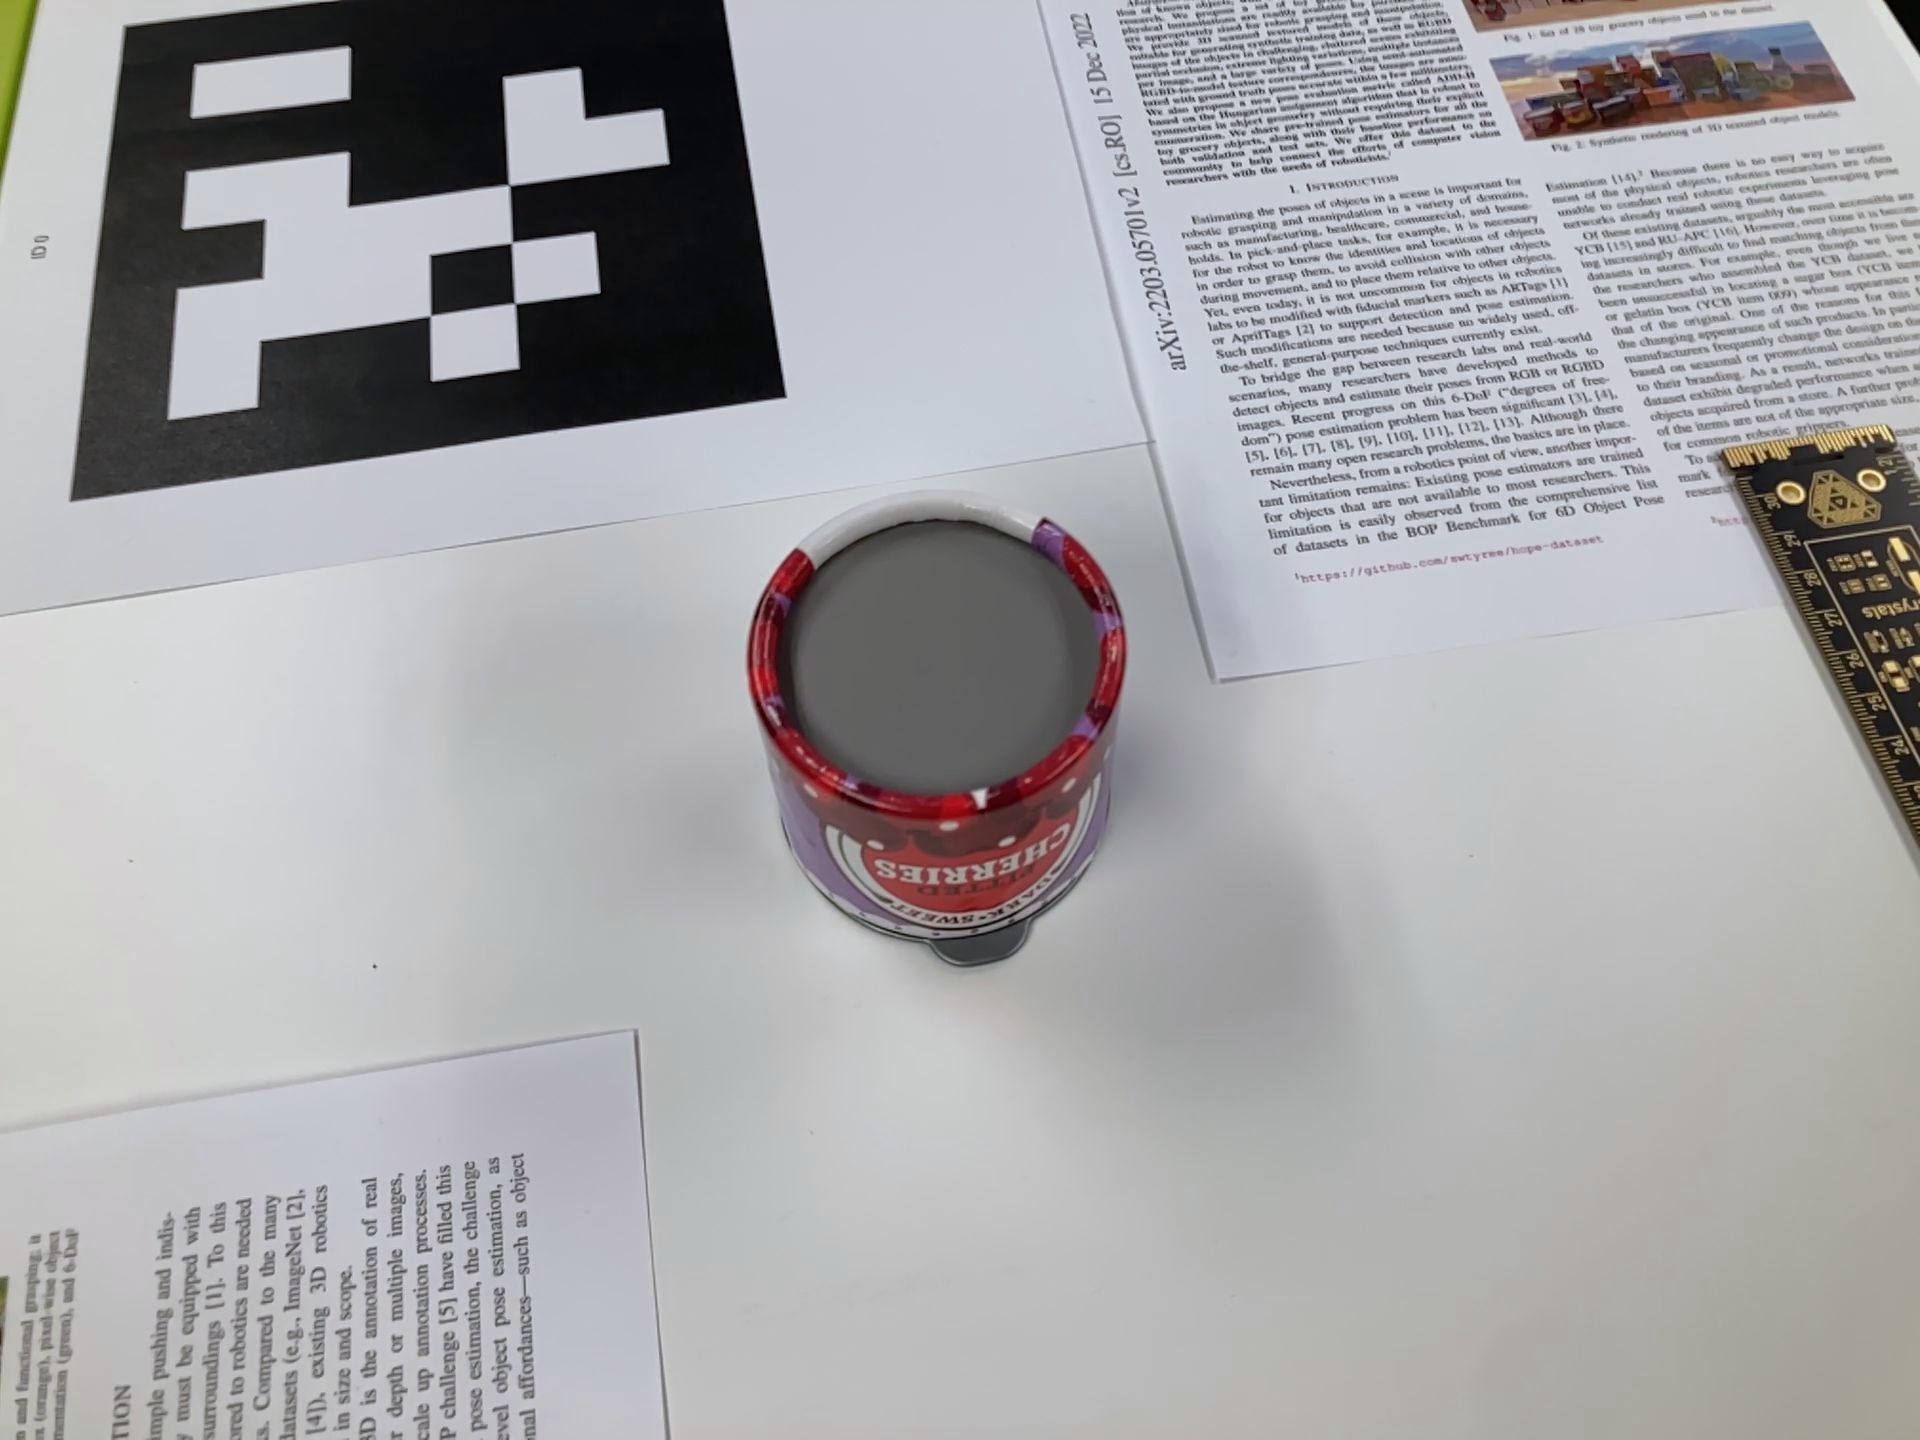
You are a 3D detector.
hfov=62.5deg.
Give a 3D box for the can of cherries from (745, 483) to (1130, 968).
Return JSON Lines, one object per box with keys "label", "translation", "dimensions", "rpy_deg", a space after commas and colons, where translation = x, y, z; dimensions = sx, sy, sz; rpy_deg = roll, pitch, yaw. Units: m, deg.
{"label": "can of cherries", "translation": [-0.003, 0.002, 0.289], "dimensions": [0.071, 0.058, 0.071], "rpy_deg": [0, 62, 0]}
